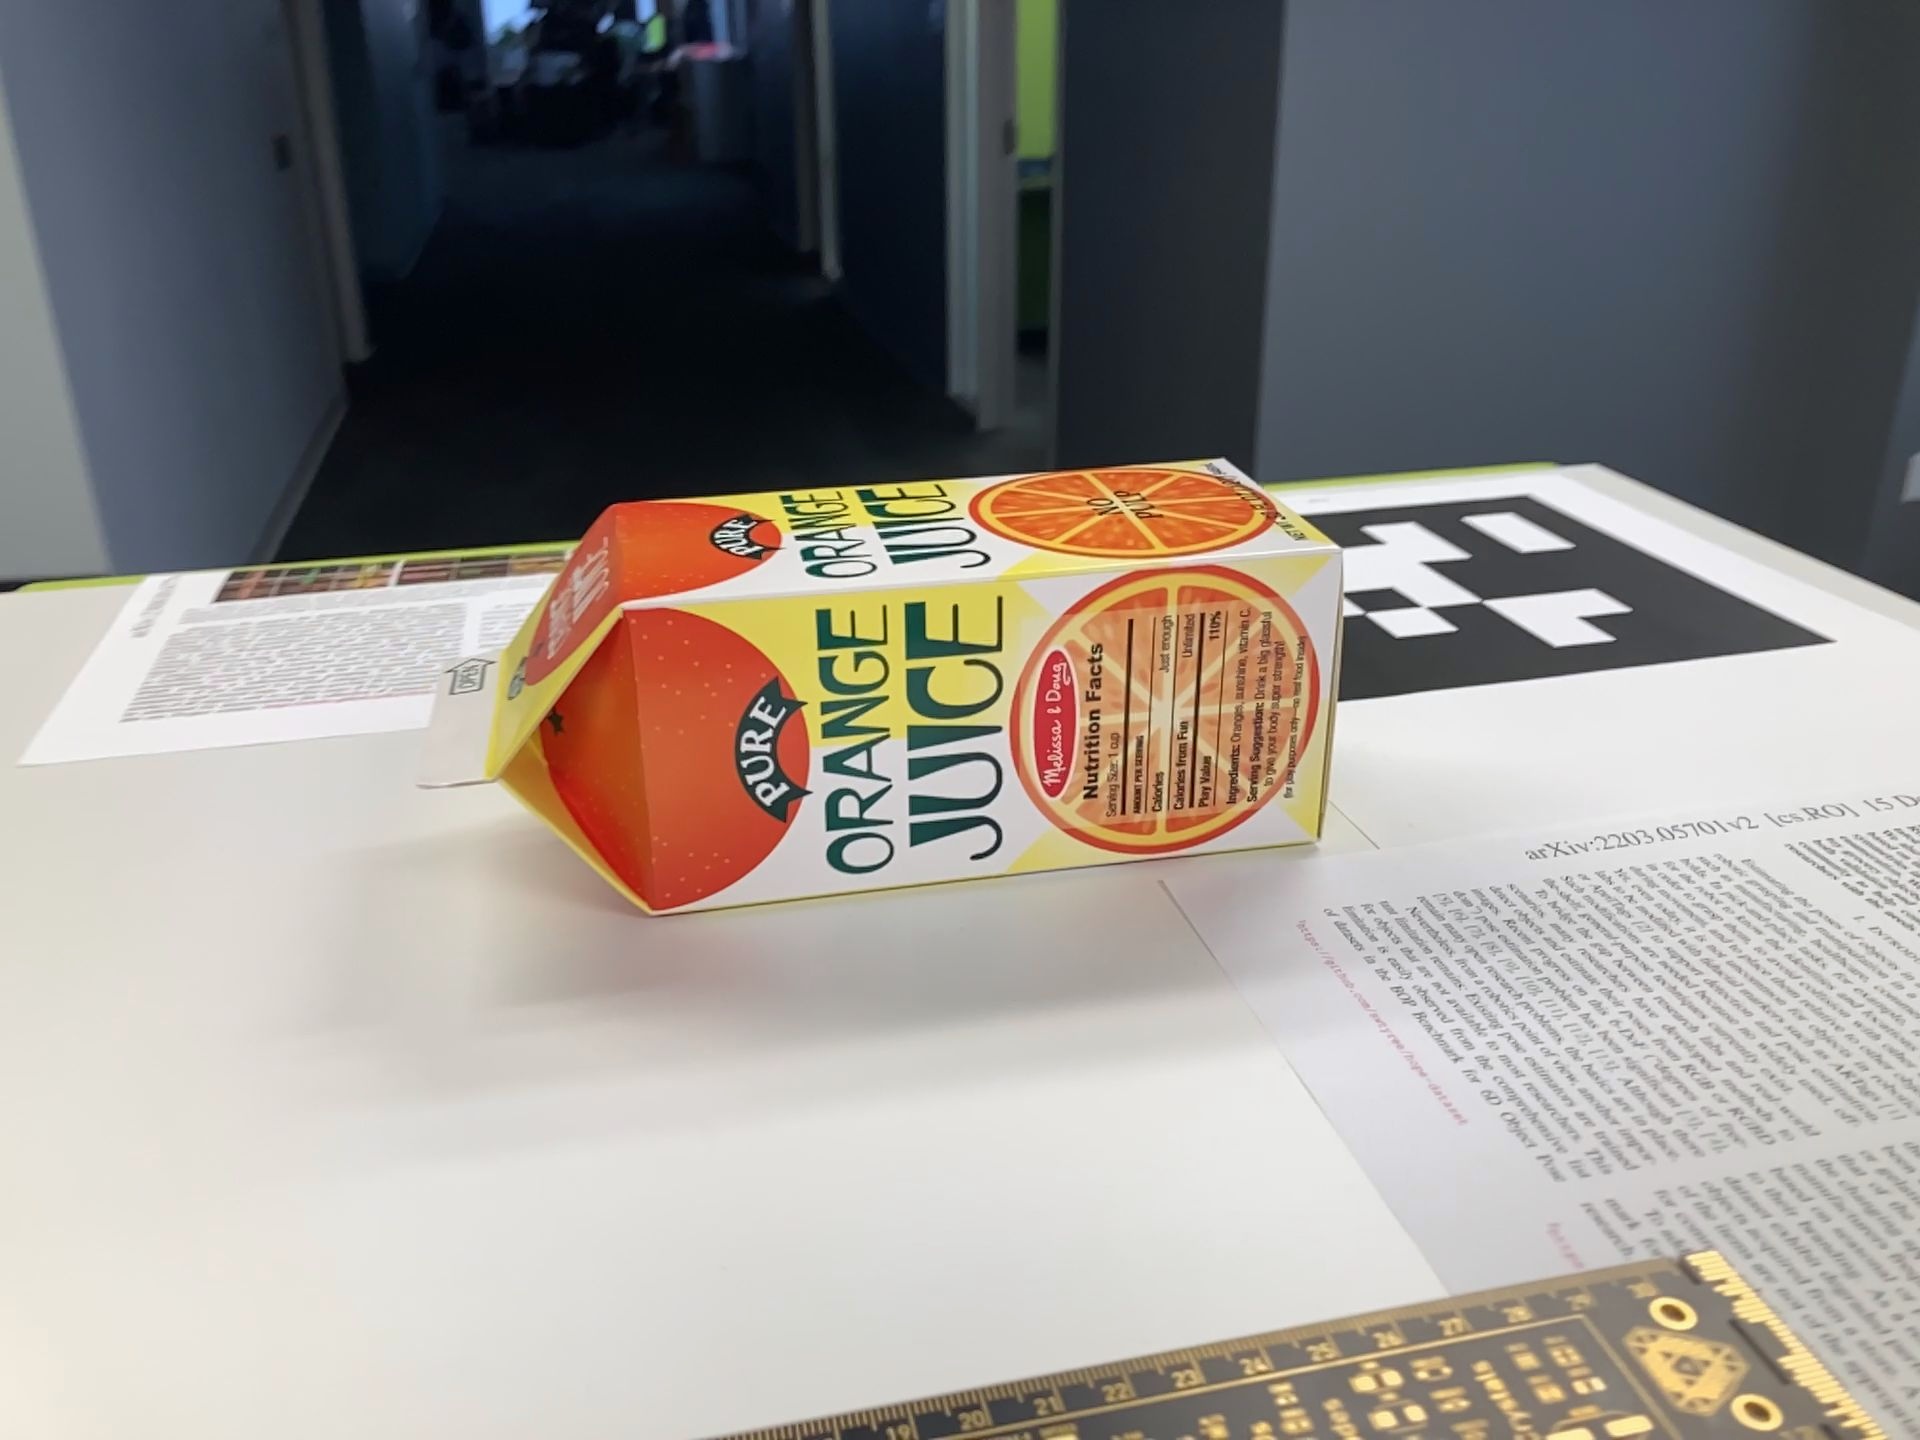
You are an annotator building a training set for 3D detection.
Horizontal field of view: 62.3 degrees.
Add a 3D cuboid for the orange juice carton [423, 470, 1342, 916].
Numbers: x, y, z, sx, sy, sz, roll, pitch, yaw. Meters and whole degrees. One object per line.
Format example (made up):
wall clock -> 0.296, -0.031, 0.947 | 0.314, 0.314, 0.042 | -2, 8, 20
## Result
orange juice carton -> -0.019, -0.008, 0.360 | 0.192, 0.073, 0.072 | -5, 25, -10
